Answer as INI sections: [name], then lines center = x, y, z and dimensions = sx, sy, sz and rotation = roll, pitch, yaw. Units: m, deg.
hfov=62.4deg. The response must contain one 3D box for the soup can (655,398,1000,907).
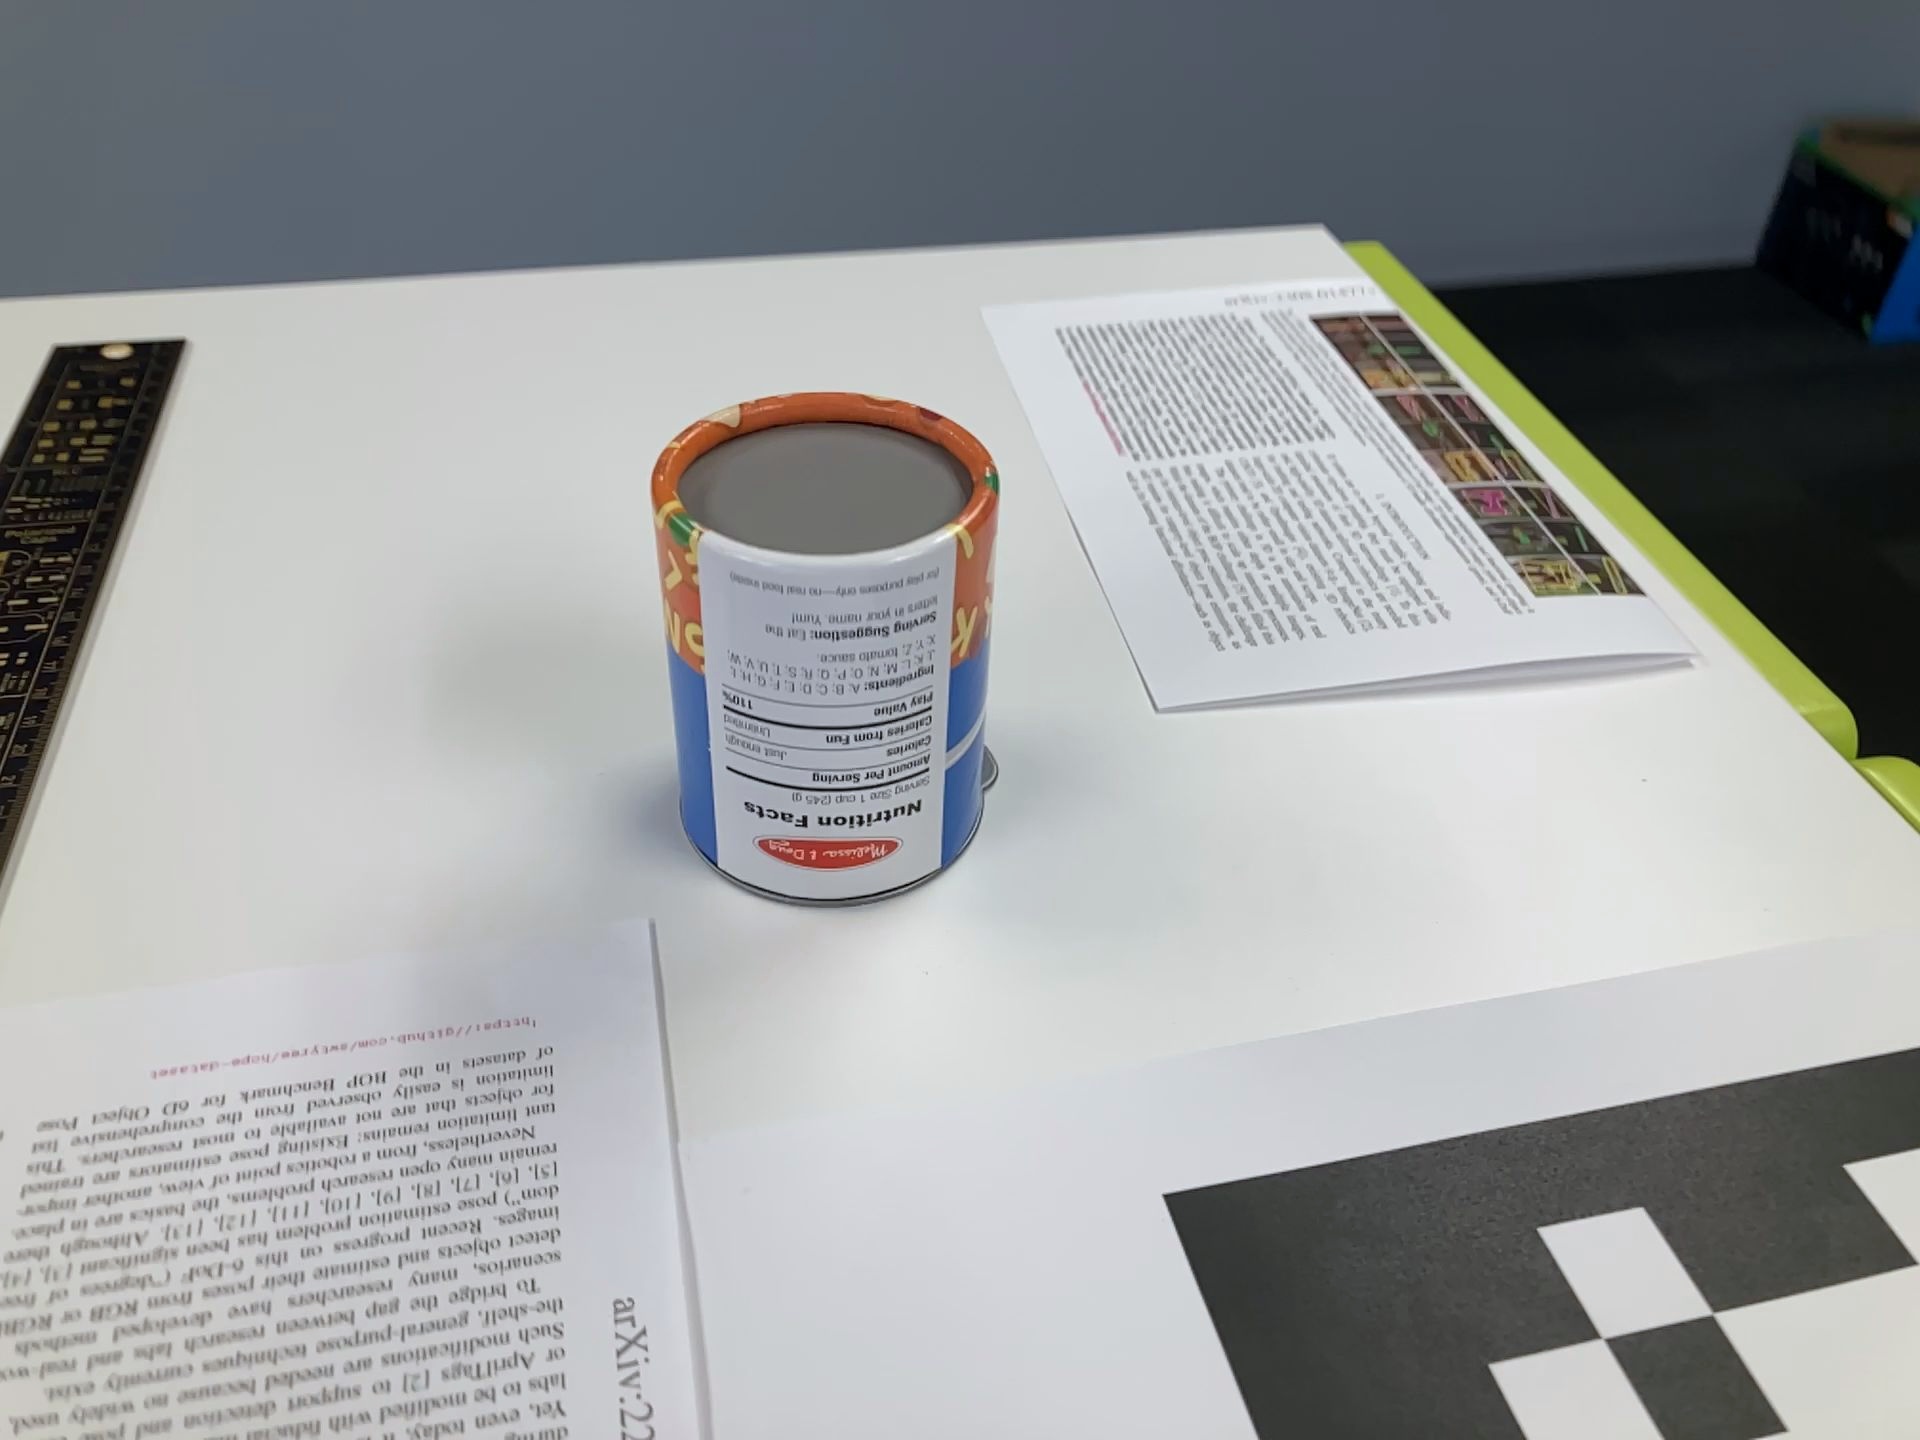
[soup can]
center = -0.027, -0.016, 0.328
dimensions = 0.071, 0.084, 0.071
rotation = 2, 39, -2
